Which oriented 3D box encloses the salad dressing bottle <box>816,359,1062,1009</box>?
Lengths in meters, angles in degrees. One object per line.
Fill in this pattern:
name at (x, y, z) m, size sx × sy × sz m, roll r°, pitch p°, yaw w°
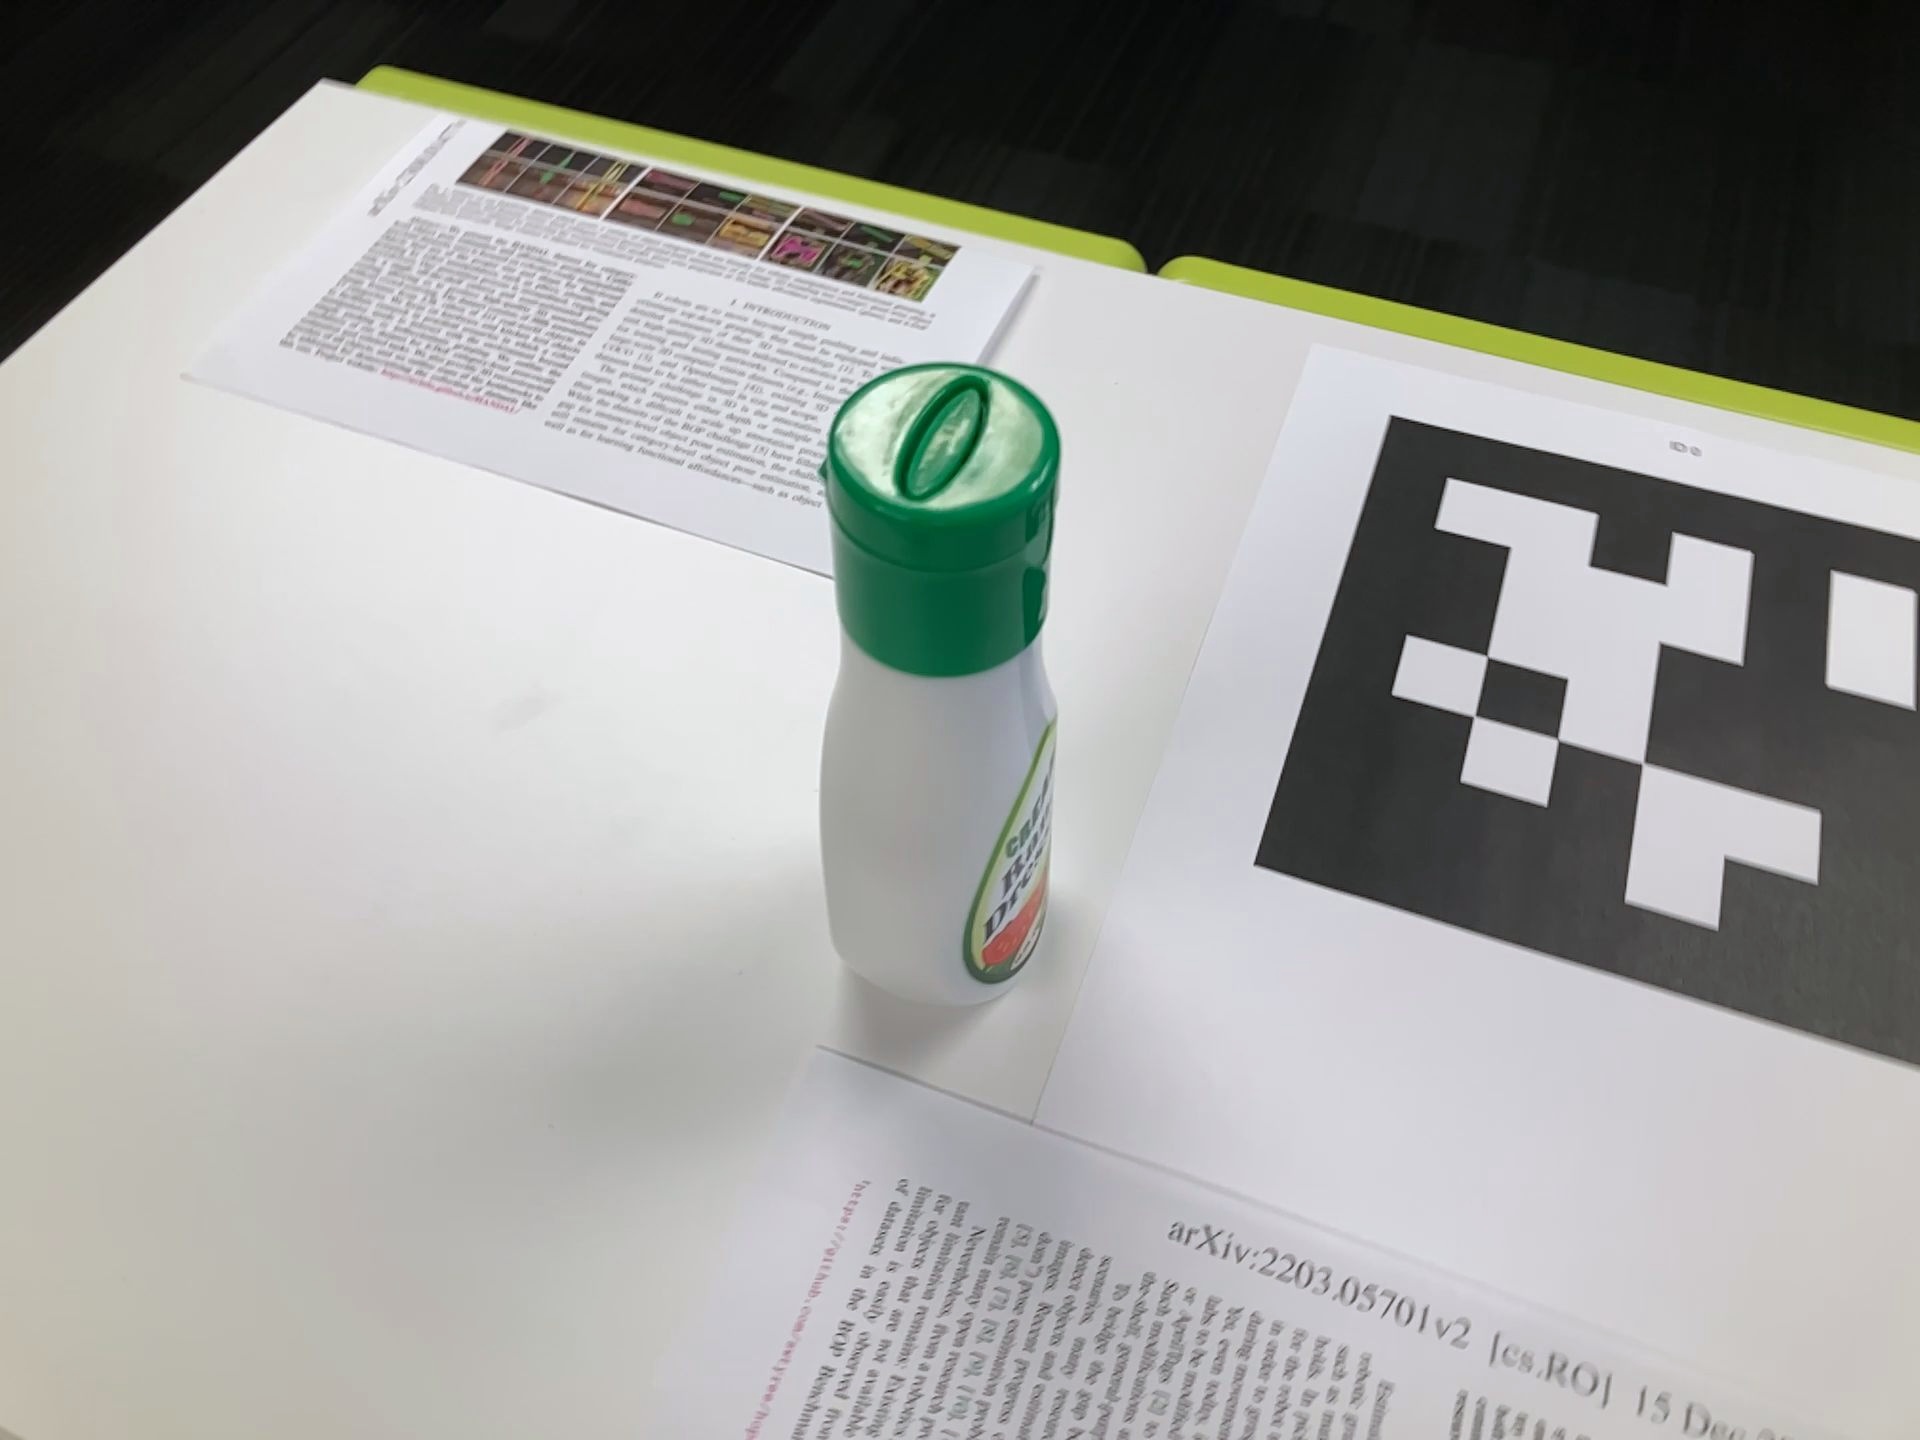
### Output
salad dressing bottle at (-0.003, 0.001, 0.298) m, size 0.044 × 0.147 × 0.064 m, roll 17°, pitch 55°, yaw 13°
